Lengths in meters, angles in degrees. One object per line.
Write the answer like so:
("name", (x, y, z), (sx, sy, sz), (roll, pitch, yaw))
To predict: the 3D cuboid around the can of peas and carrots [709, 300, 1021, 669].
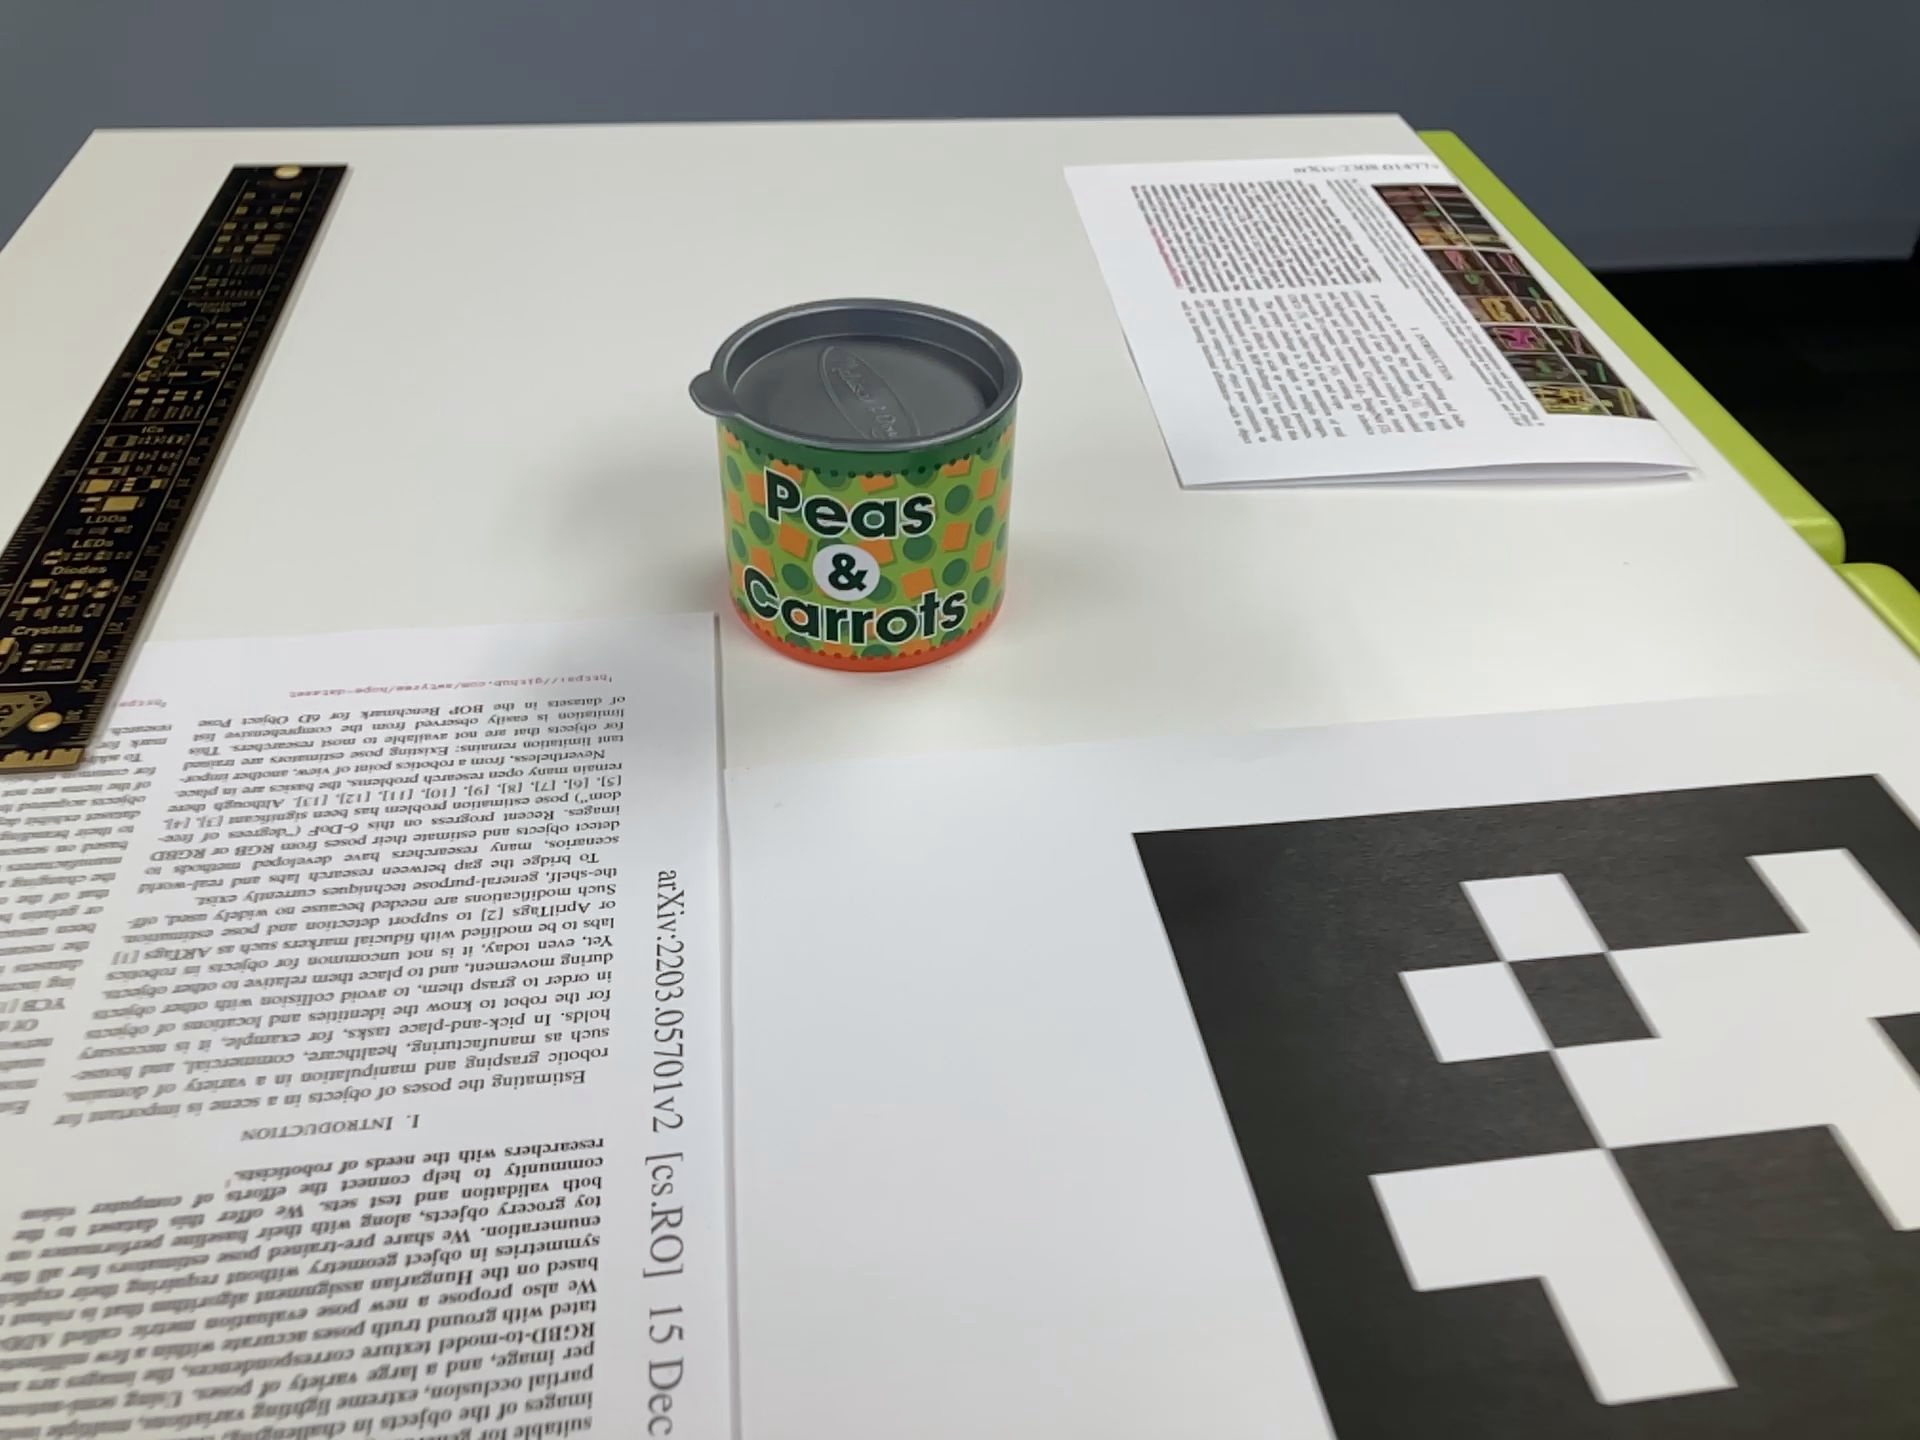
("can of peas and carrots", (-0.021, -0.052, 0.354), (0.071, 0.059, 0.071), (2, 40, -1))
